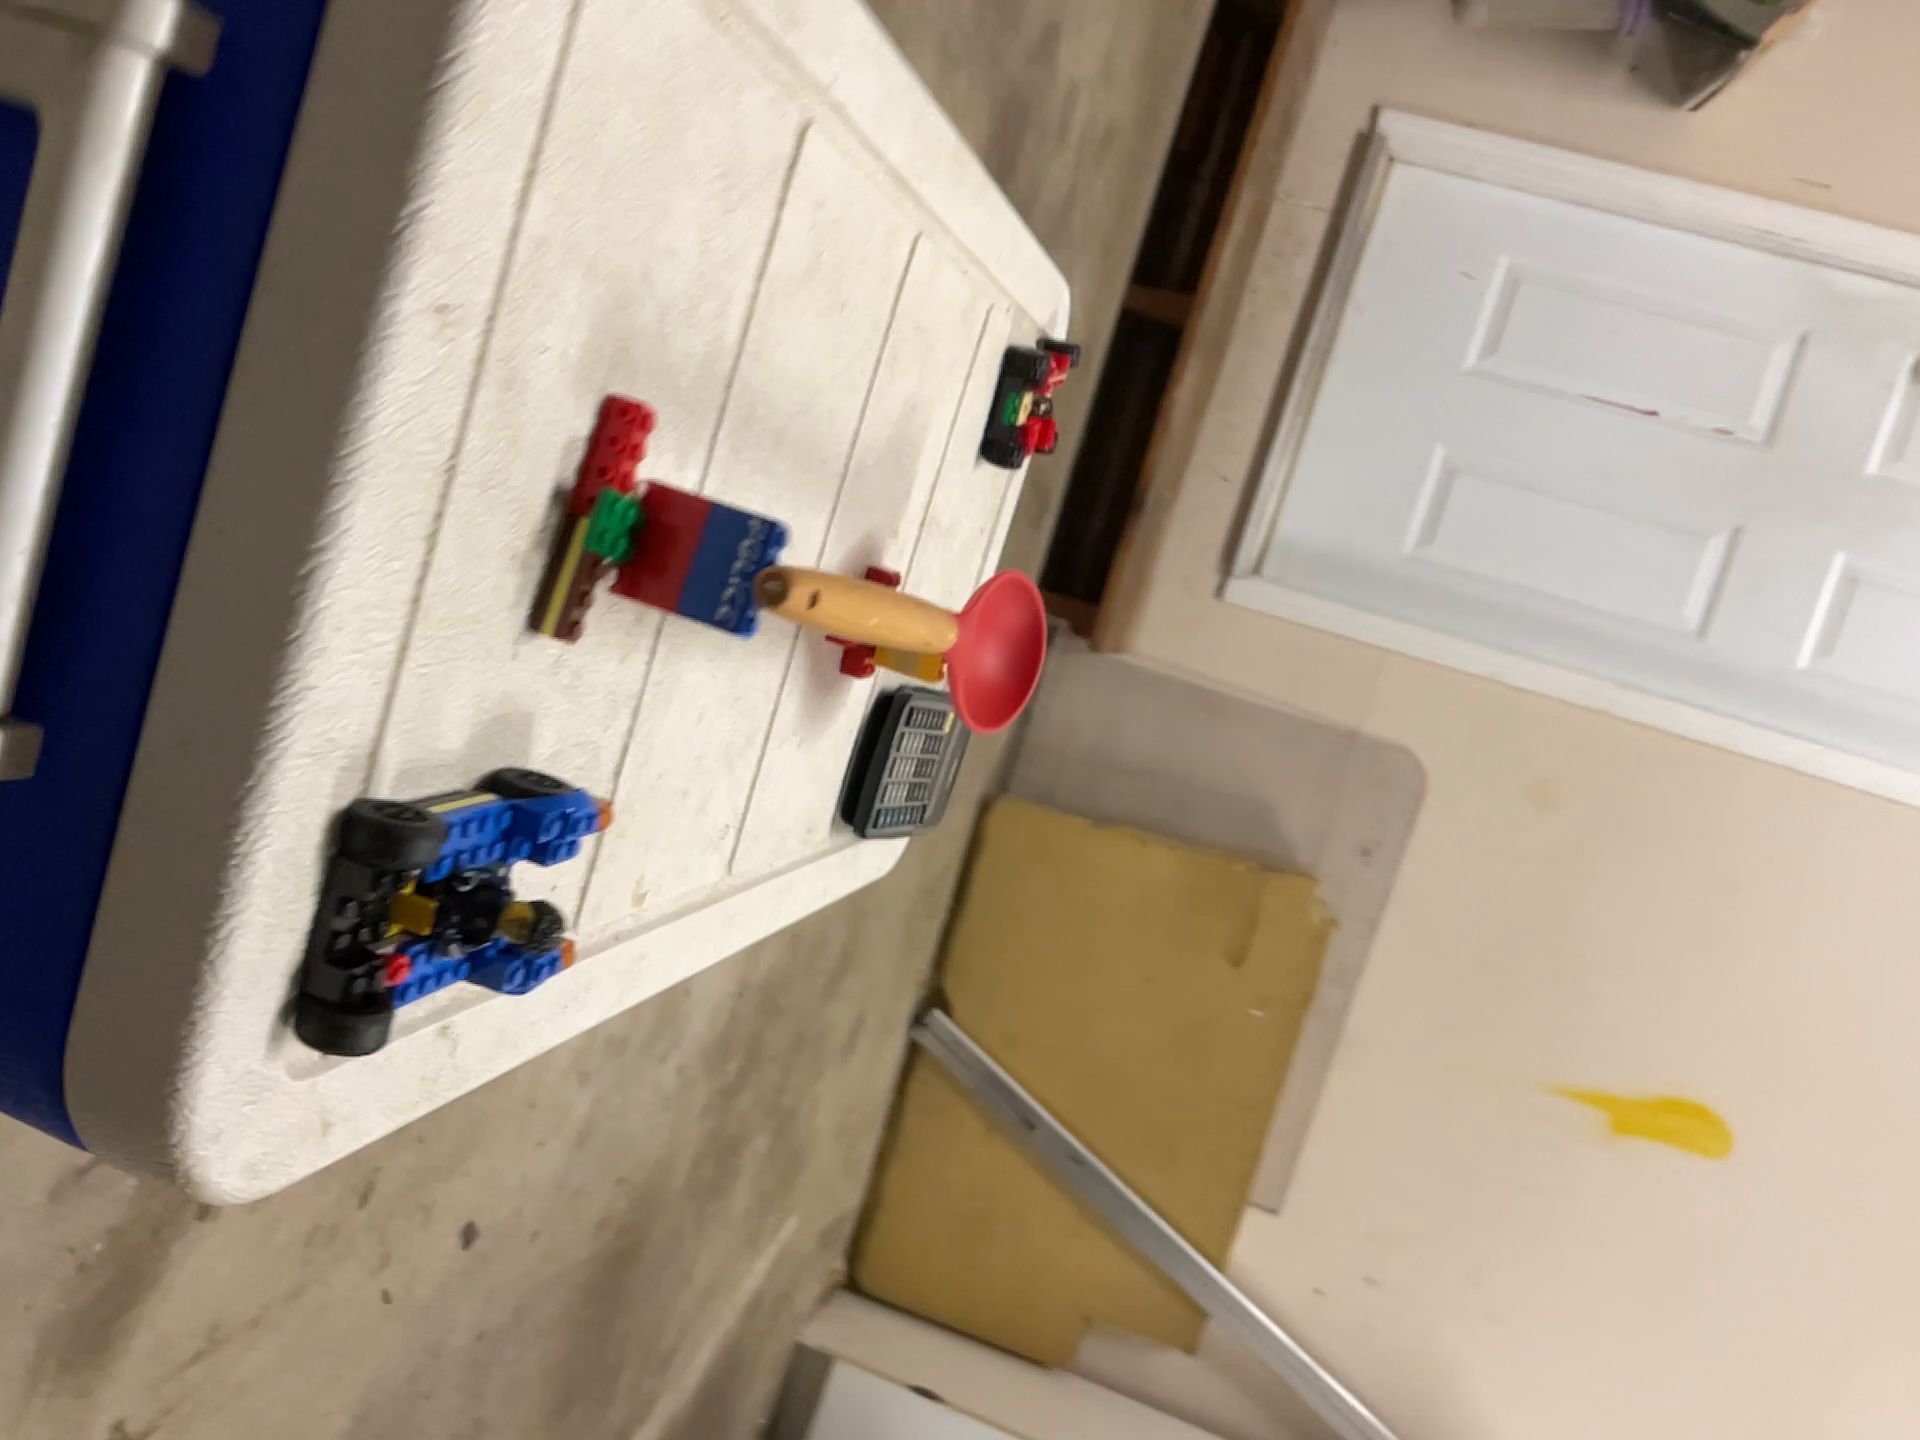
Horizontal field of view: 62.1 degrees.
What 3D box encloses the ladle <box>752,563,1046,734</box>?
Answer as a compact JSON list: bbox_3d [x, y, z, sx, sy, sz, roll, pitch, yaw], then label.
[{"bbox_3d":[-0.013,-0.031,0.548,0.315,0.031,0.069,4,99,-78],"label":"ladle"}]
